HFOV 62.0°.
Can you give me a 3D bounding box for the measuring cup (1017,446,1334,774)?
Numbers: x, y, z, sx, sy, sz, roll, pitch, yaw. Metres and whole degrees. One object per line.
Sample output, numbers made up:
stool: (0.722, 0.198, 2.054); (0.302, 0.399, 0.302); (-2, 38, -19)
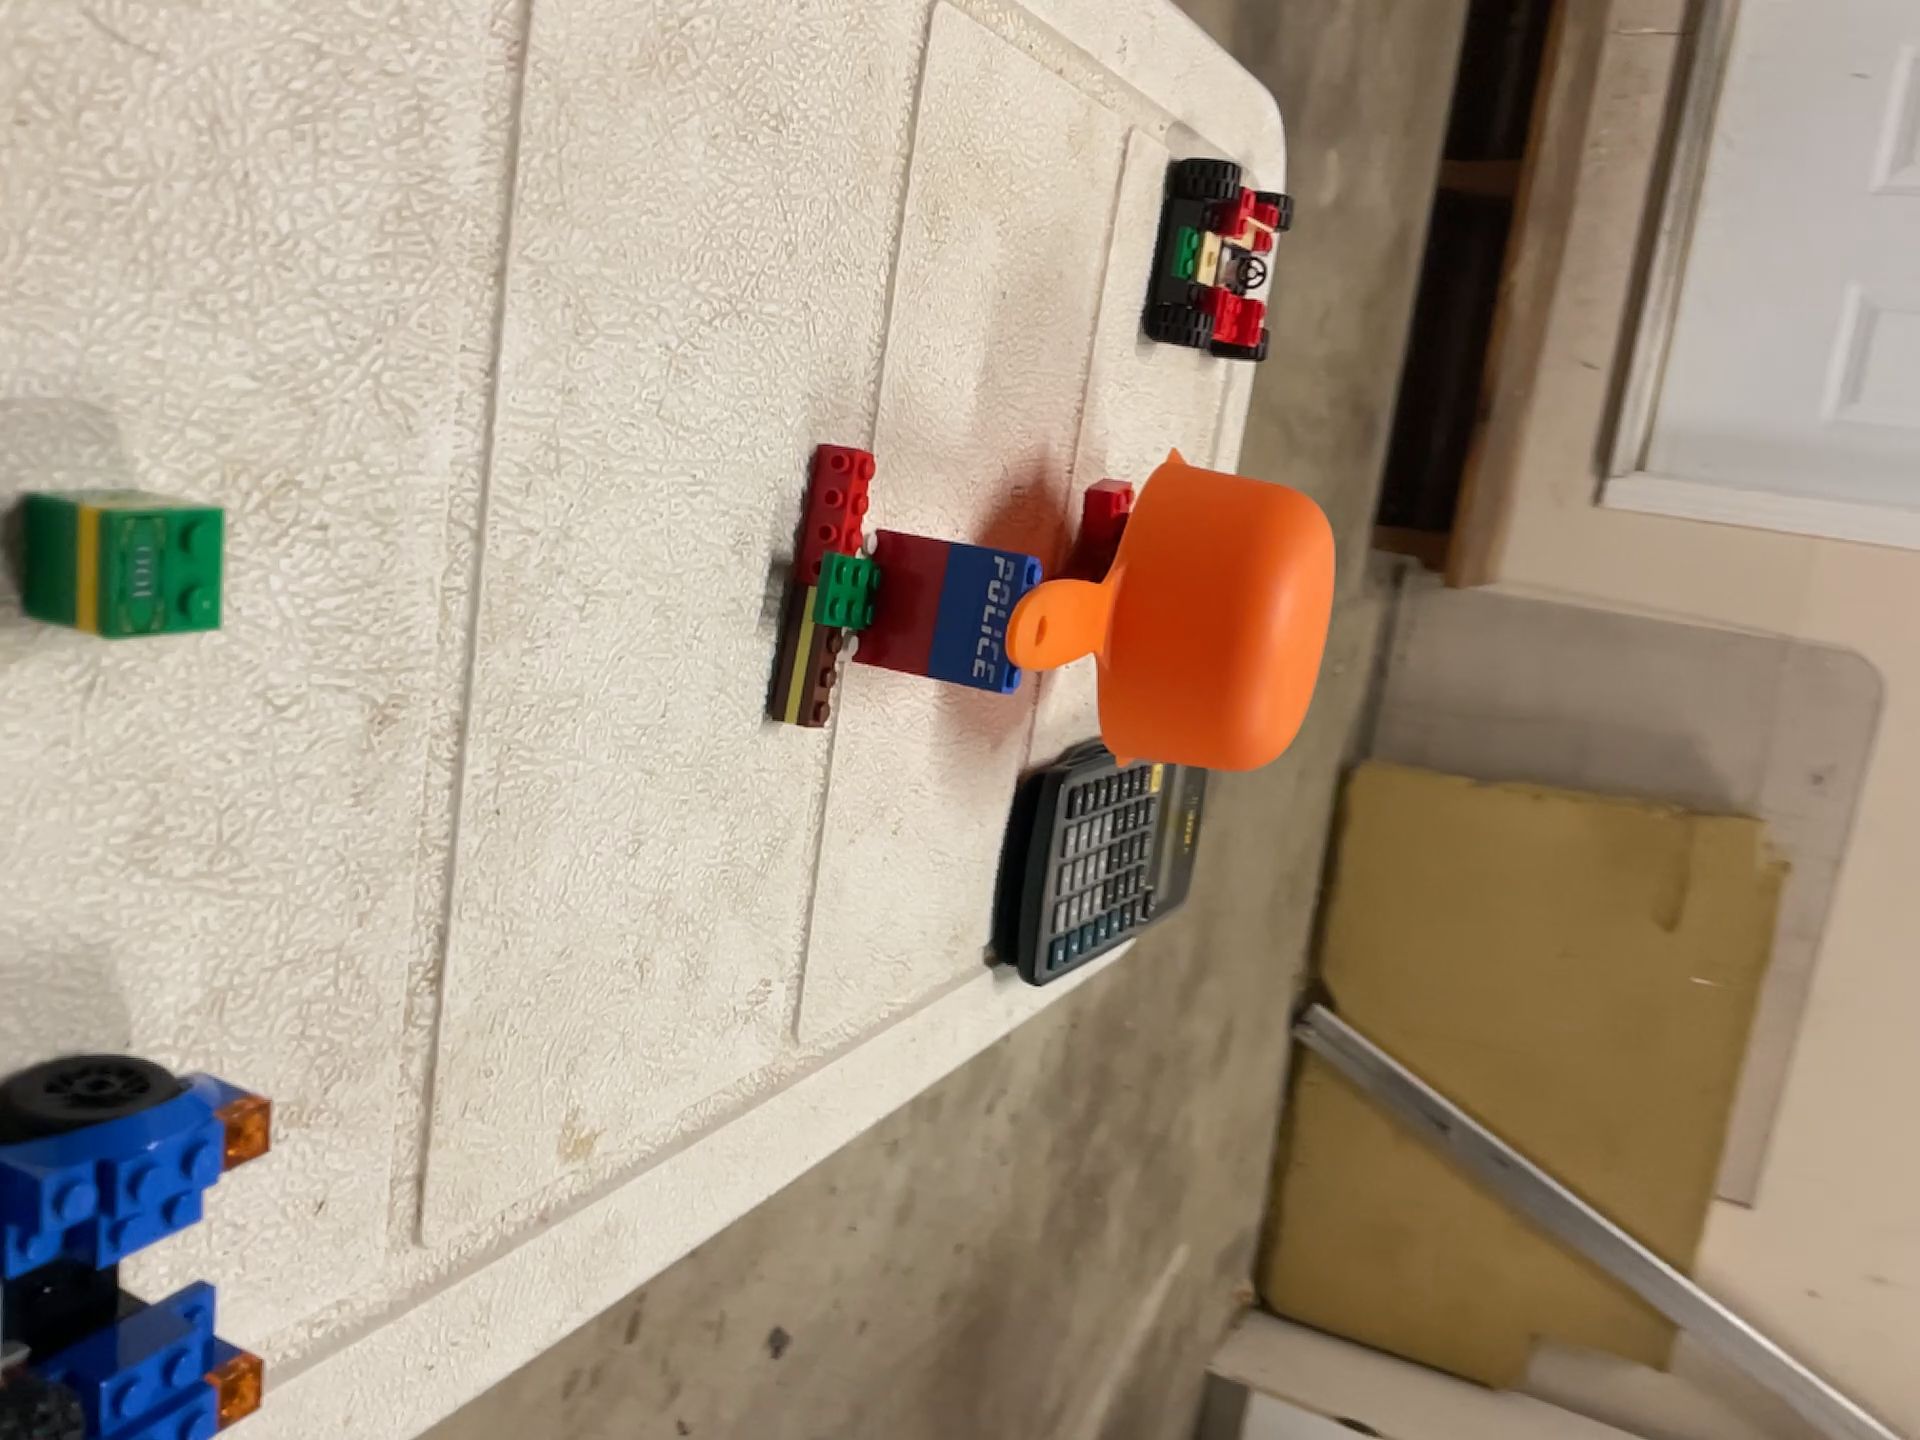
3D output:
measuring cup: (0.062, -0.024, 0.422); (0.173, 0.052, 0.095); (-16, 115, -70)
